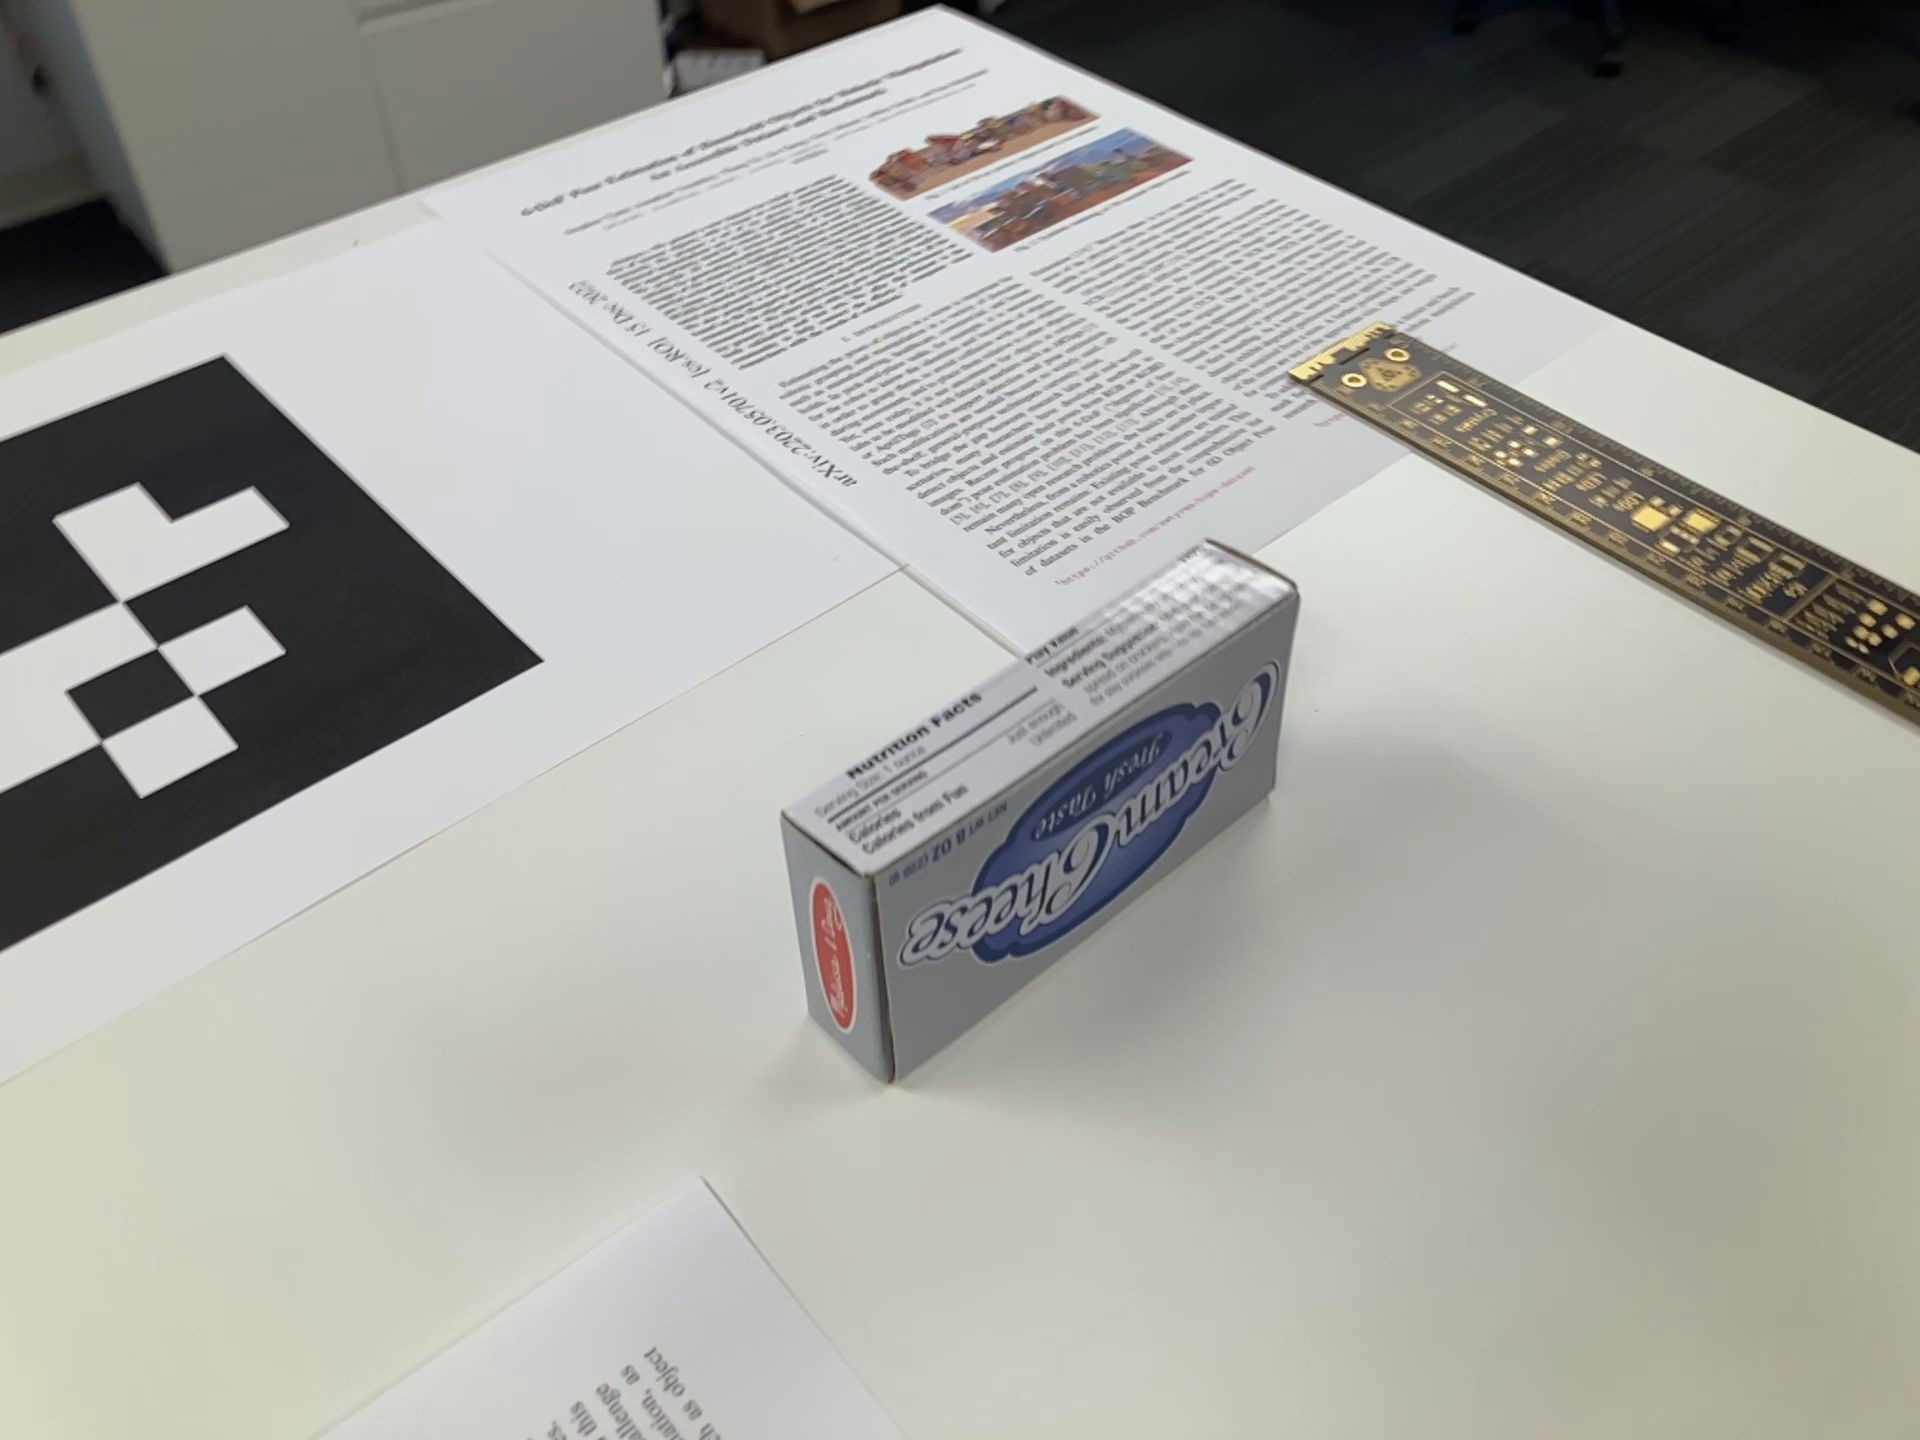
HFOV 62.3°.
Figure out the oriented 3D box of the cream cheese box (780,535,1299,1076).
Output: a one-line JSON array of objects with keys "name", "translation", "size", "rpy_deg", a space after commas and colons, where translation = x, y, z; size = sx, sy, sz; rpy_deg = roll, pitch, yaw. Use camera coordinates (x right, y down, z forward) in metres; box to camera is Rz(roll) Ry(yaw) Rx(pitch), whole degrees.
[{"name": "cream cheese box", "translation": [0.017, 0.013, 0.283], "size": [0.104, 0.053, 0.024], "rpy_deg": [-33, 52, -29]}]
